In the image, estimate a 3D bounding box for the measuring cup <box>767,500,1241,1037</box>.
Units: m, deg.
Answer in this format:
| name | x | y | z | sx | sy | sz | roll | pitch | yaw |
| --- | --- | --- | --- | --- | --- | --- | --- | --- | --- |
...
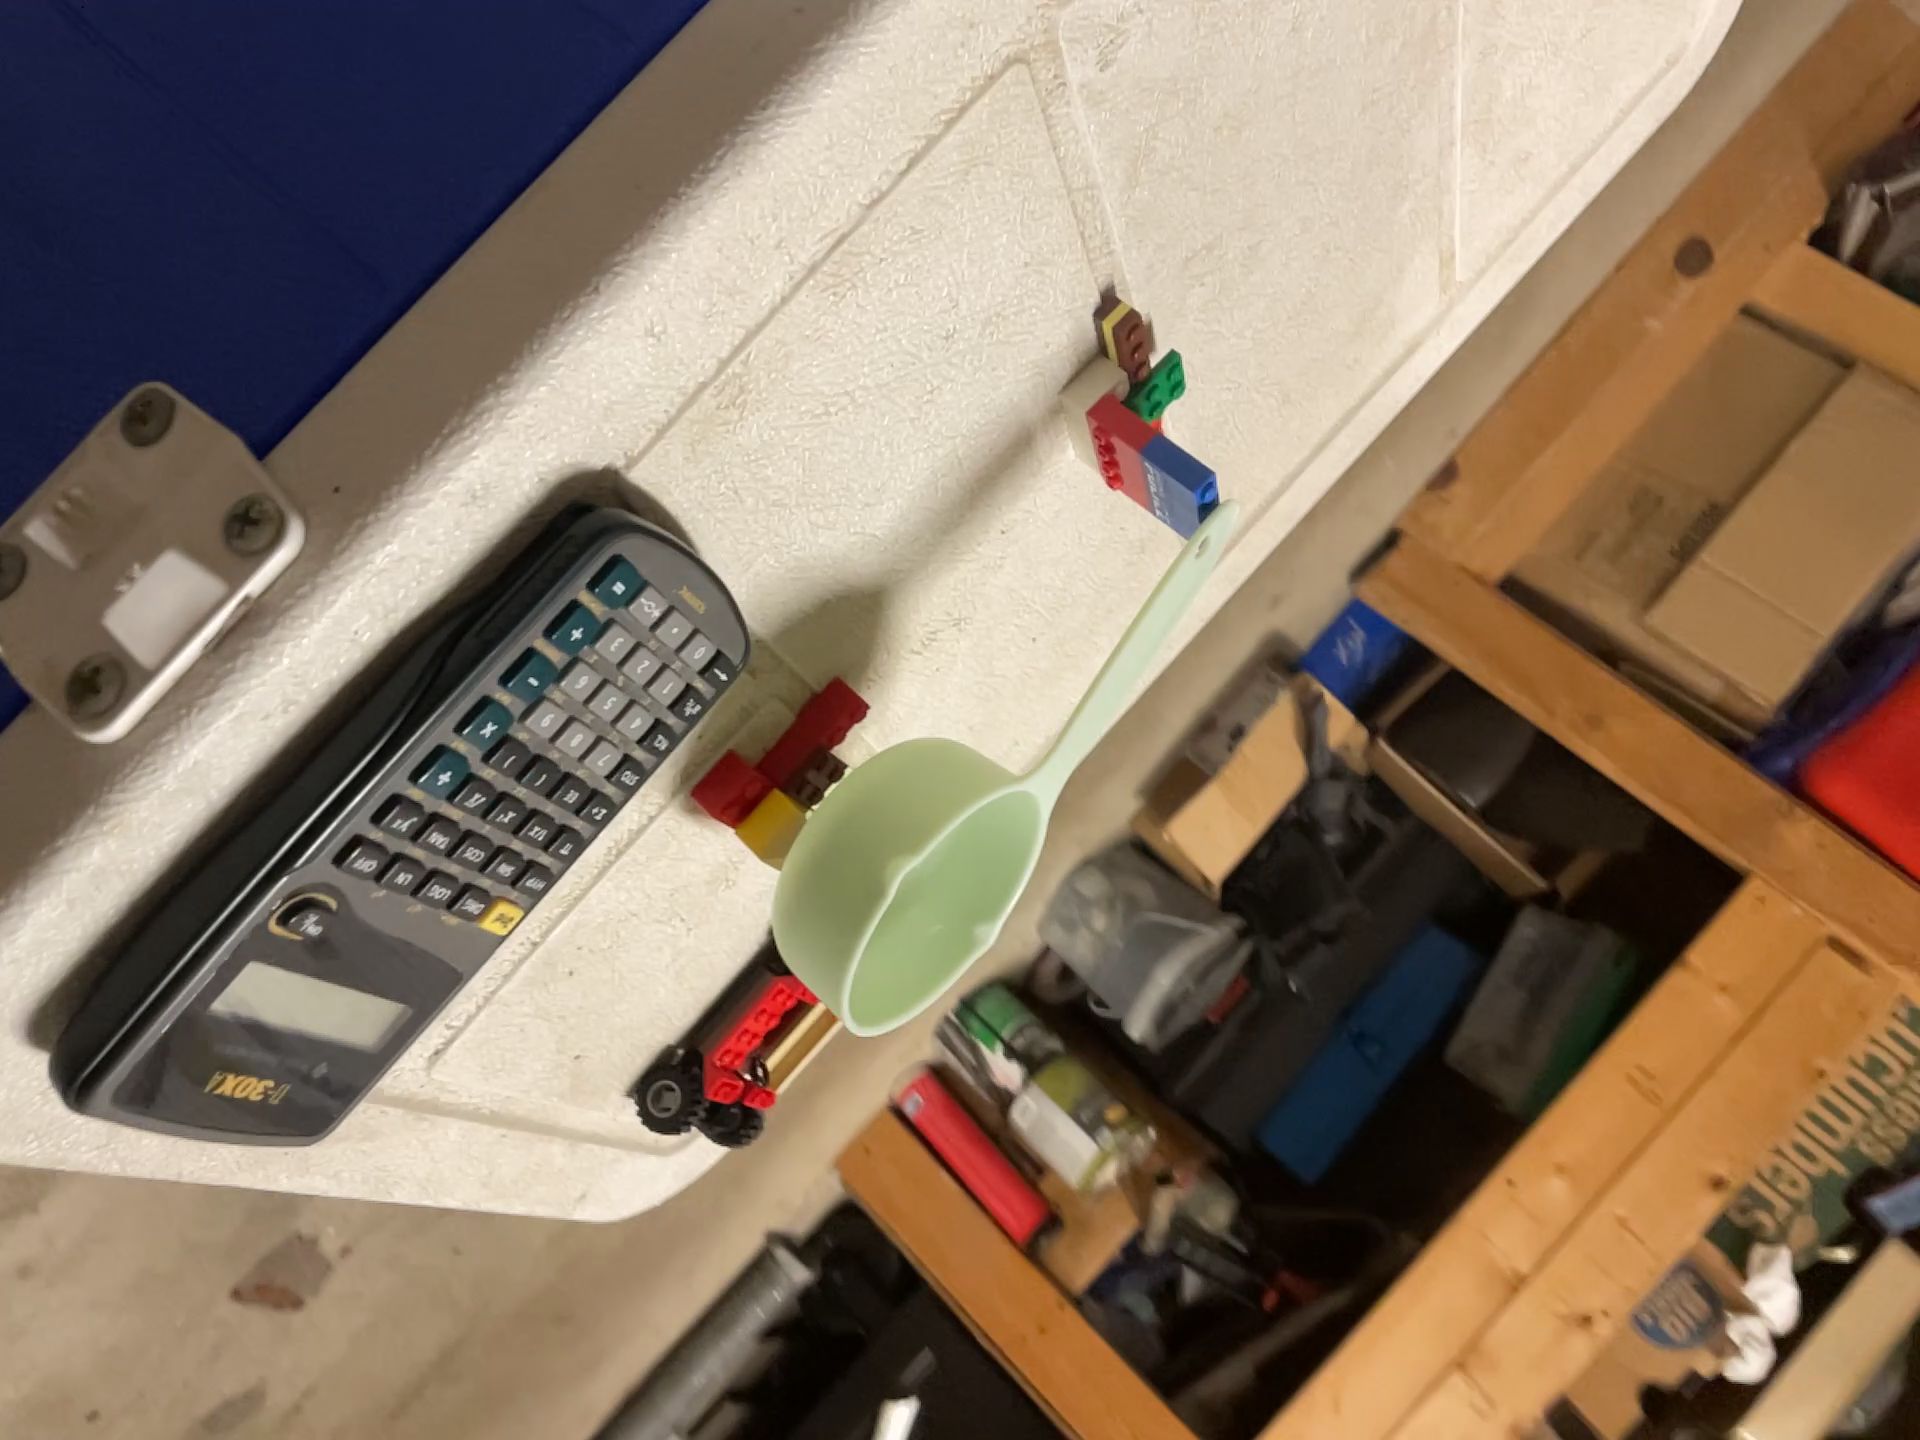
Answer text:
| name | x | y | z | sx | sy | sz | roll | pitch | yaw |
| --- | --- | --- | --- | --- | --- | --- | --- | --- | --- |
| measuring cup | 0.011 | 0.003 | 0.414 | 0.167 | 0.038 | 0.083 | -54 | 155 | -5 |
